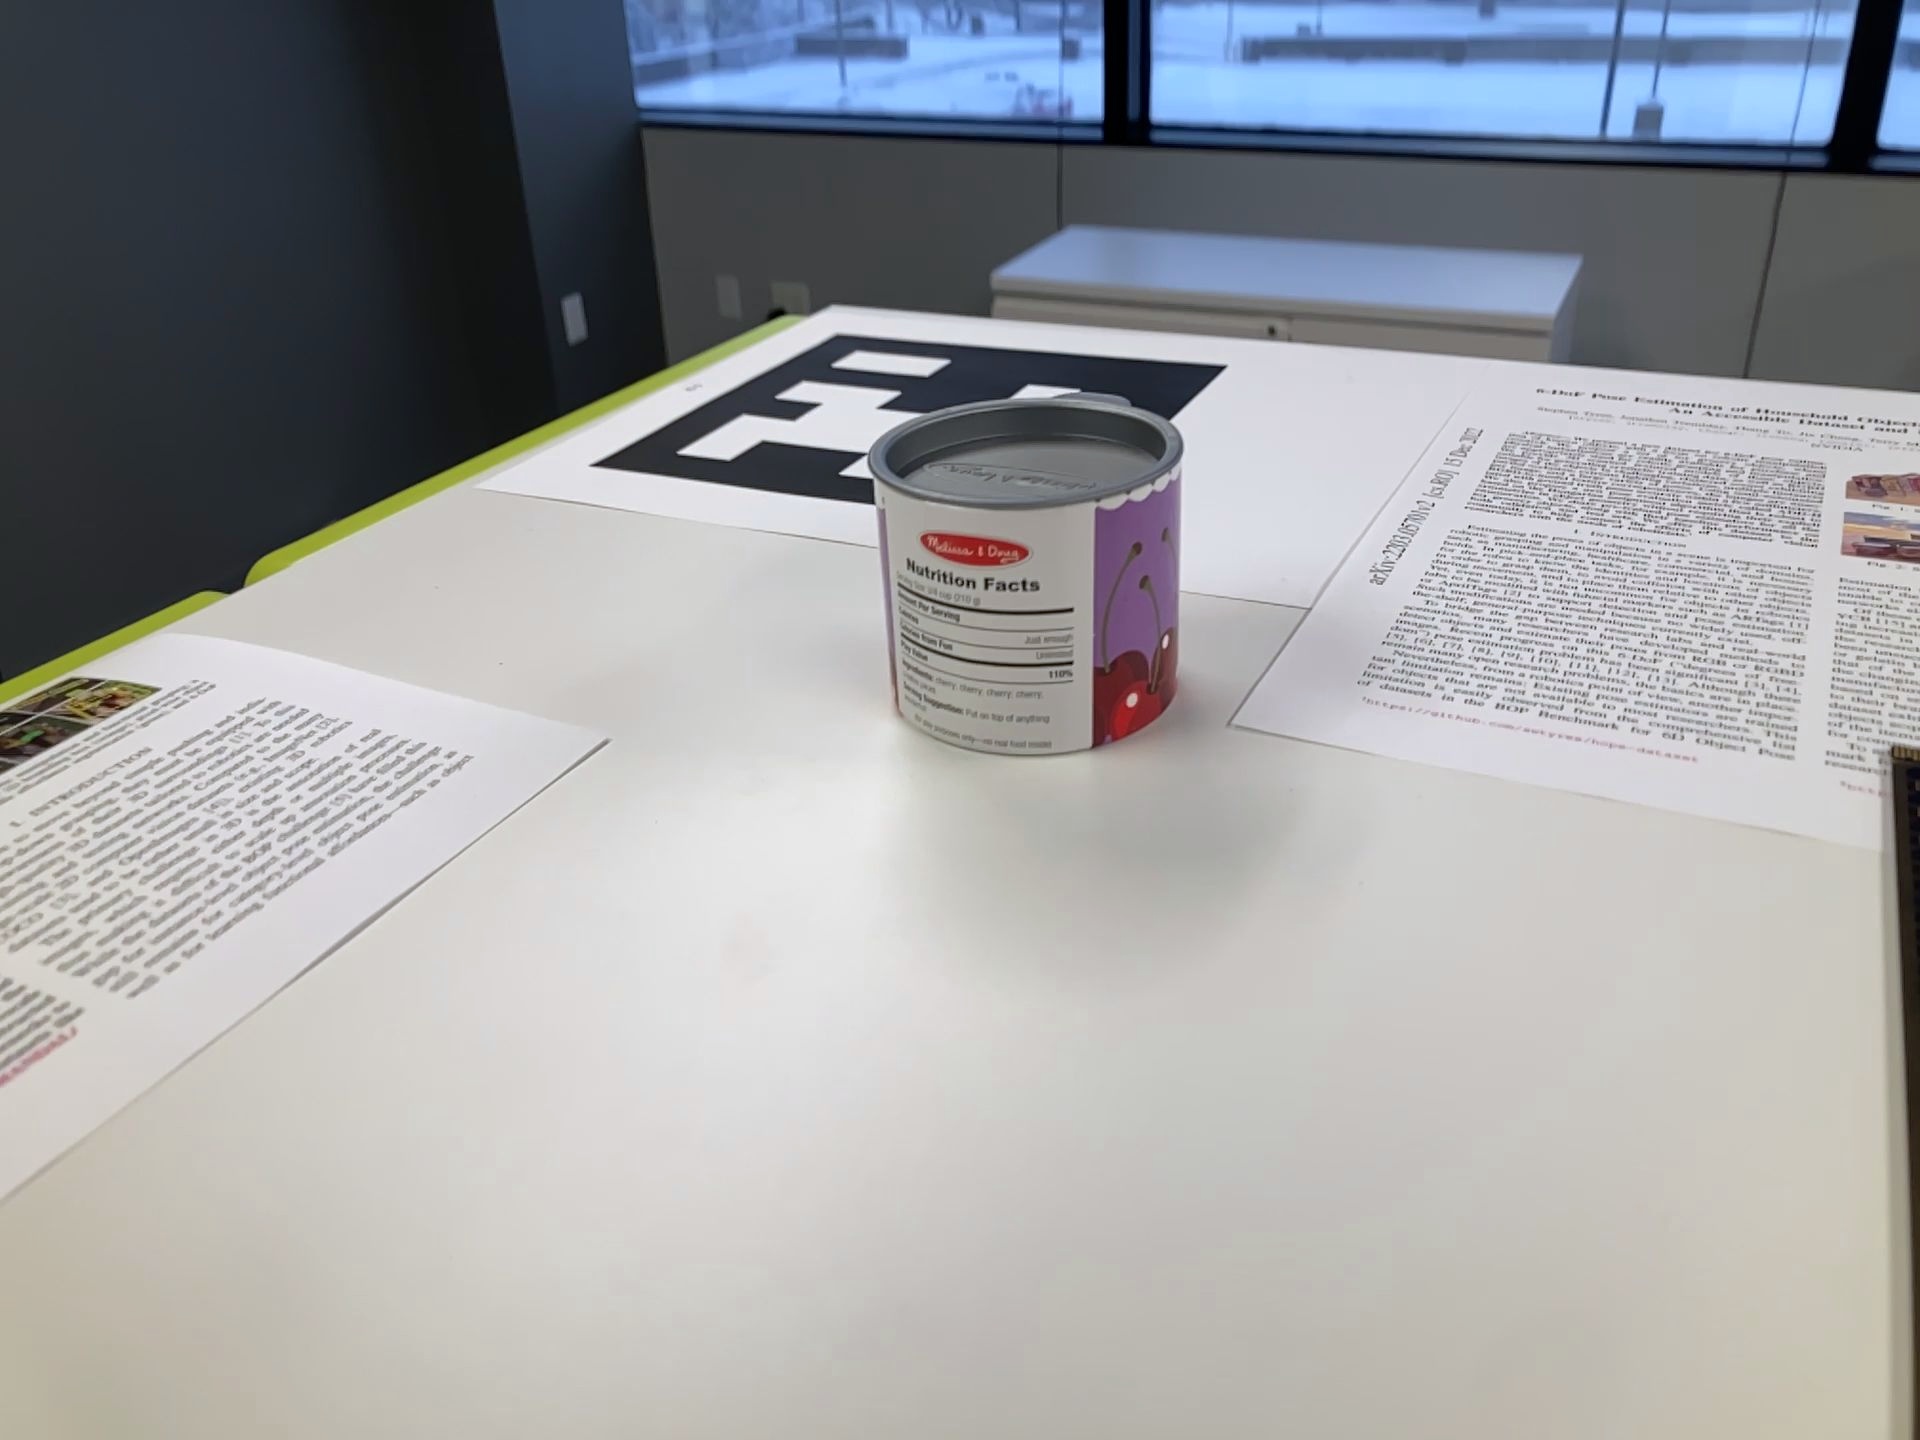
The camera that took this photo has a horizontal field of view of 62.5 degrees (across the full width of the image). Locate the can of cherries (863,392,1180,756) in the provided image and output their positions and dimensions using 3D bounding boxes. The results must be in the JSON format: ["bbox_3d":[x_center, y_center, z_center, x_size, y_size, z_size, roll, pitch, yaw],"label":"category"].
[{"bbox_3d":[0.016,-0.034,0.346,0.071,0.058,0.071,-3,28,2],"label":"can of cherries"}]
